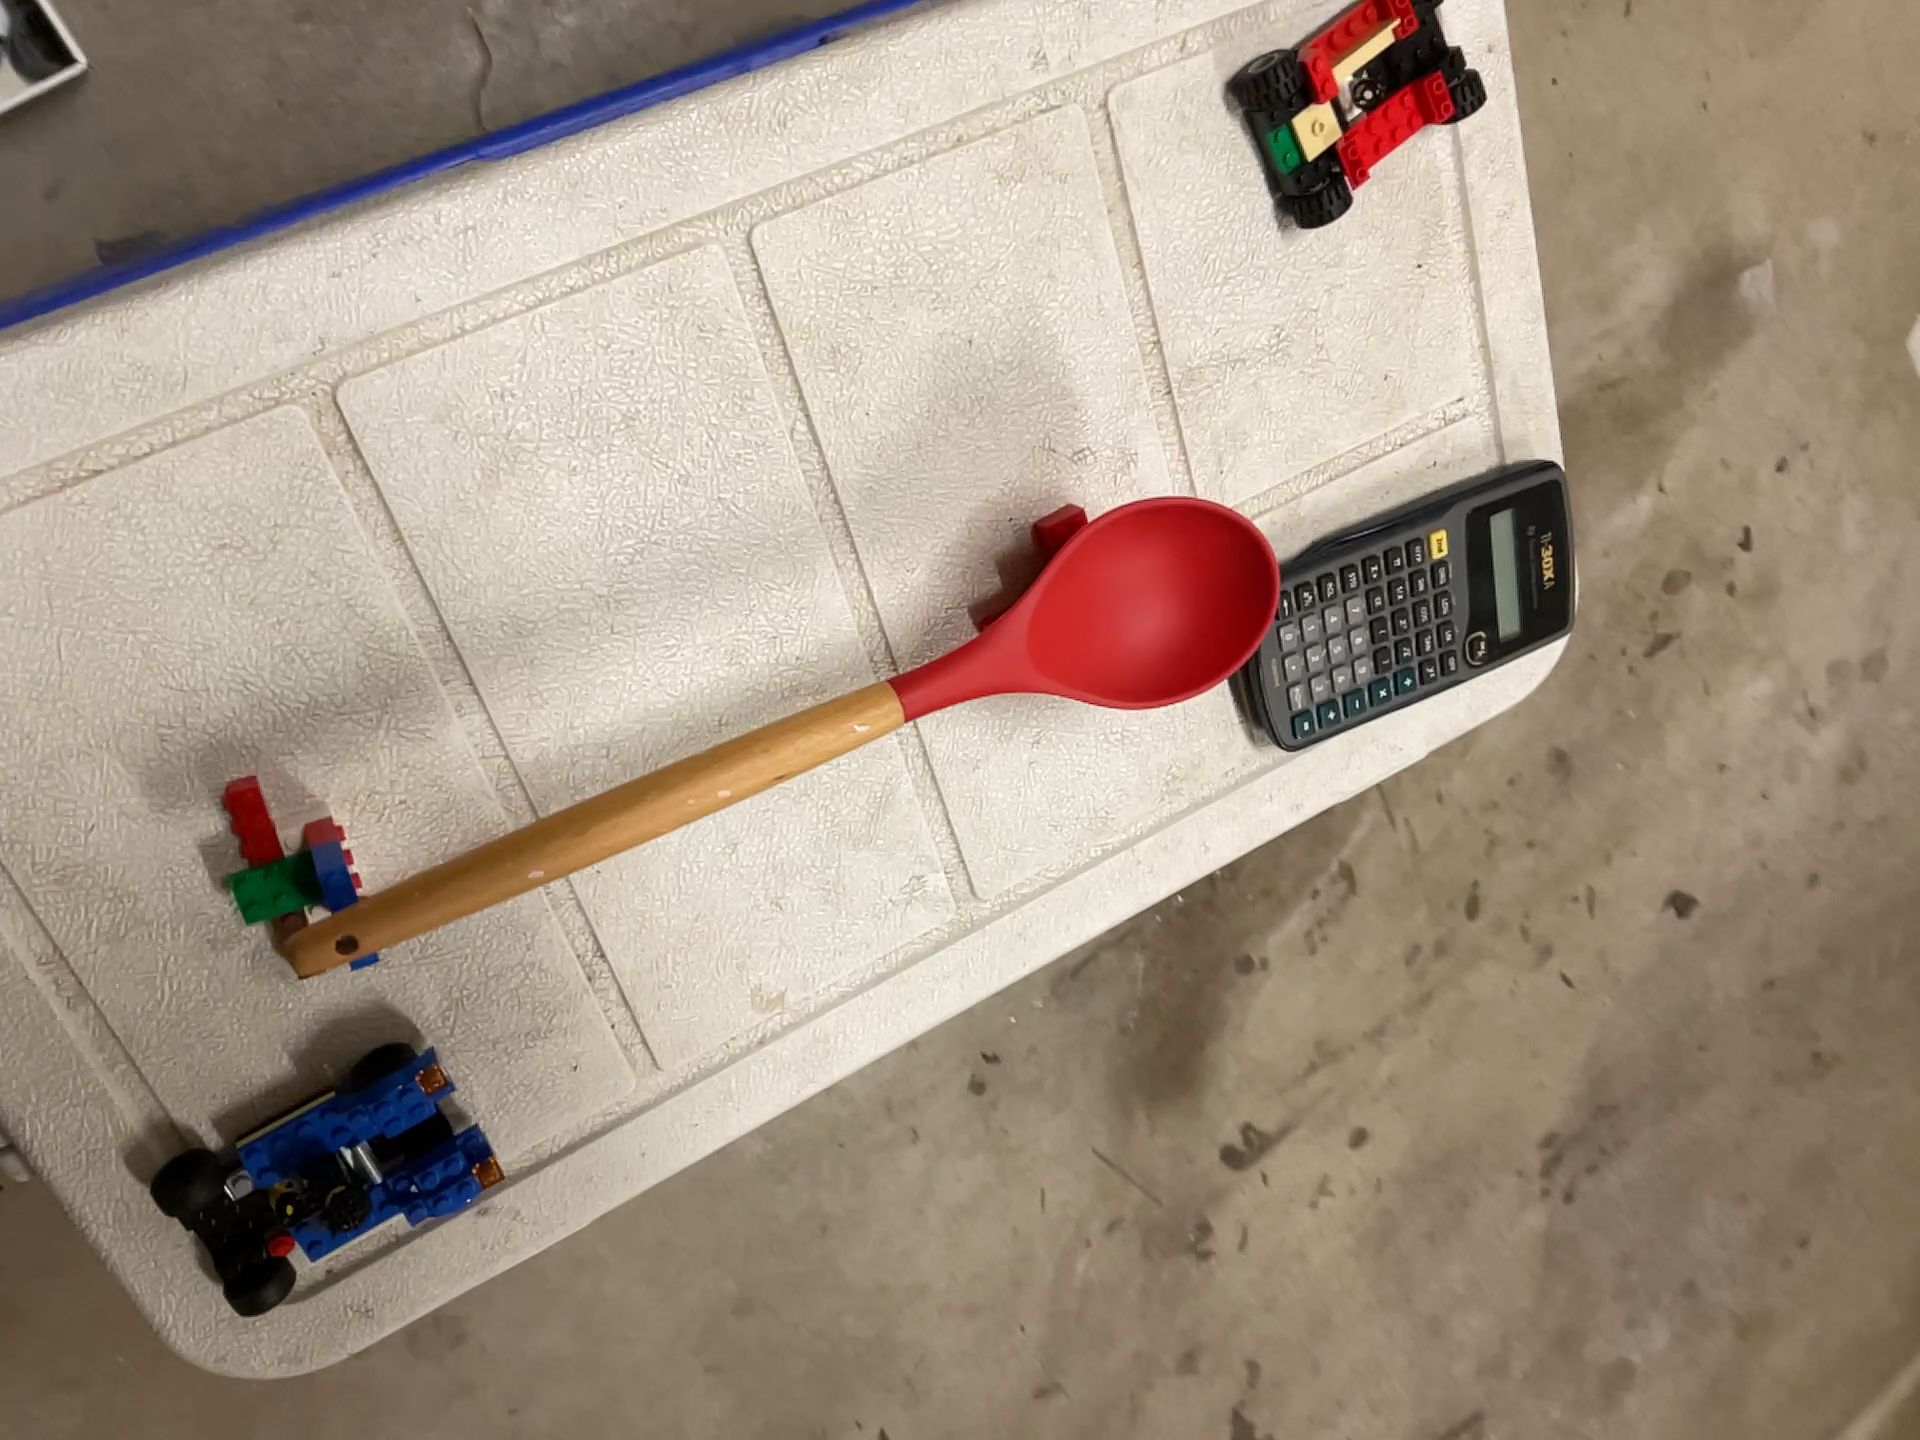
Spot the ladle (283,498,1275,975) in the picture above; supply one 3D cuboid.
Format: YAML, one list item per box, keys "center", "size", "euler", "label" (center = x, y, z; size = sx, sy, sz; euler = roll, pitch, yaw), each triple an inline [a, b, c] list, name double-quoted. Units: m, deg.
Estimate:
- center: [-0.044, 0.006, 0.480]
  size: [0.315, 0.031, 0.069]
  euler: [-23, 111, -18]
  label: "ladle"
